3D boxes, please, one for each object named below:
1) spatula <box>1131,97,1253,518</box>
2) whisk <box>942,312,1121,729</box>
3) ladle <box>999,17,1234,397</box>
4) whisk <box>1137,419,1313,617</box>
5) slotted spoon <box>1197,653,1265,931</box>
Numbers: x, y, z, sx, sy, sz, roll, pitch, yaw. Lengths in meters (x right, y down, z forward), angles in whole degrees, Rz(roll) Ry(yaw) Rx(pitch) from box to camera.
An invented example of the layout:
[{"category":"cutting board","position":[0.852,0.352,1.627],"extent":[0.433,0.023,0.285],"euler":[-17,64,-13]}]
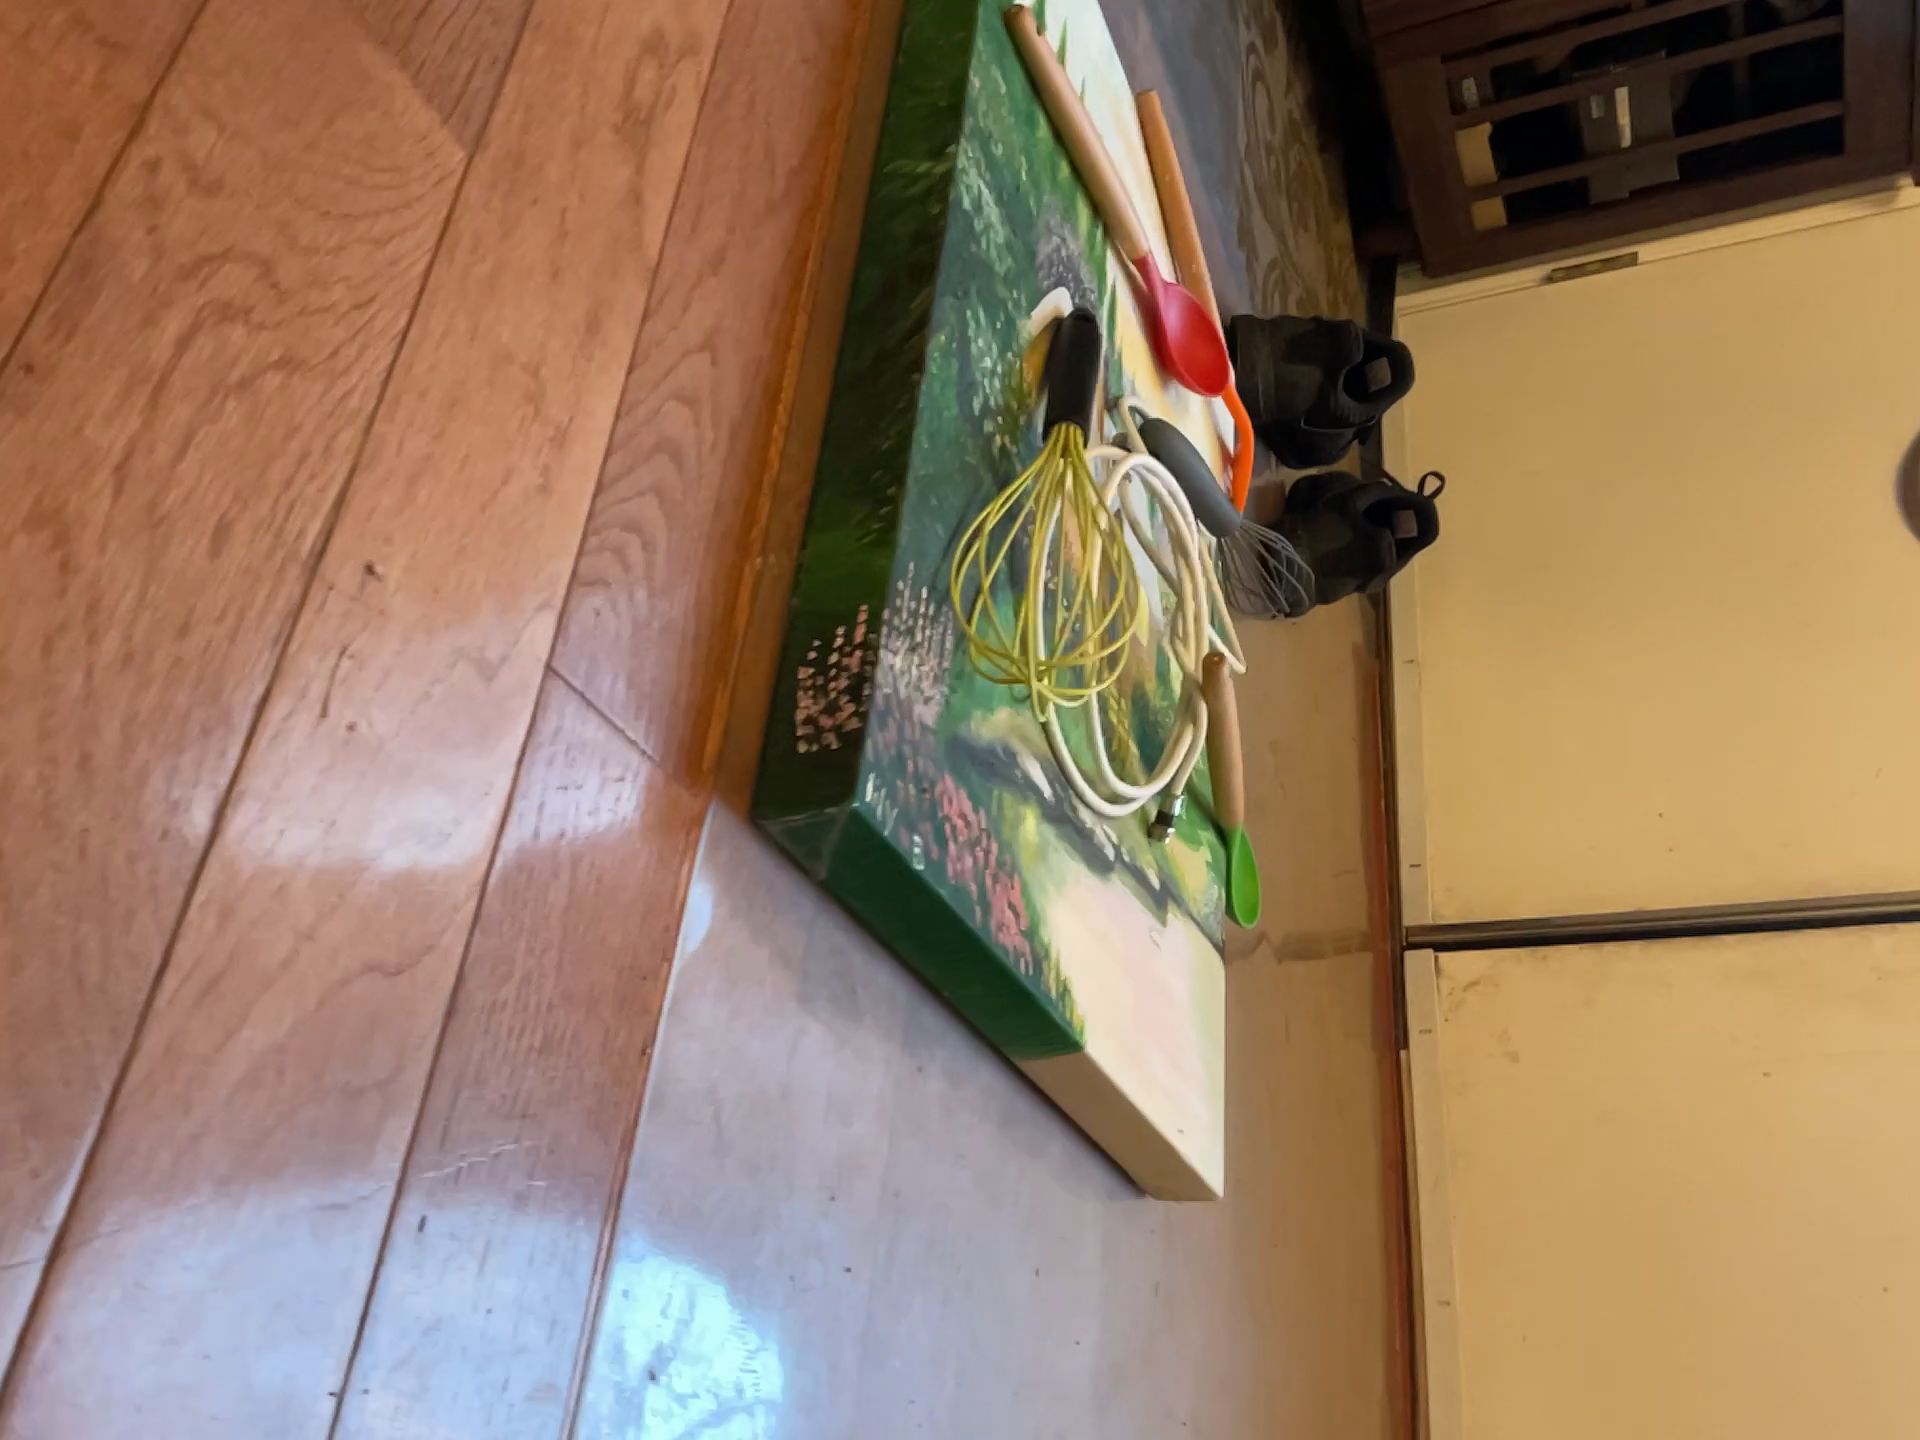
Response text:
[{"category":"spatula","position":[0.159,-0.256,1.076],"extent":[0.081,0.041,0.322],"euler":[-81,152,-59]},{"category":"whisk","position":[0.042,-0.107,0.704],"extent":[0.312,0.067,0.079],"euler":[-79,157,-49]},{"category":"ladle","position":[0.093,-0.282,0.906],"extent":[0.315,0.031,0.069],"euler":[40,46,-54]},{"category":"whisk","position":[0.168,-0.125,1.008],"extent":[0.238,0.055,0.055],"euler":[36,40,-52]},{"category":"slotted spoon","position":[0.158,0.045,0.939],"extent":[0.313,0.031,0.070],"euler":[67,25,-58]}]
